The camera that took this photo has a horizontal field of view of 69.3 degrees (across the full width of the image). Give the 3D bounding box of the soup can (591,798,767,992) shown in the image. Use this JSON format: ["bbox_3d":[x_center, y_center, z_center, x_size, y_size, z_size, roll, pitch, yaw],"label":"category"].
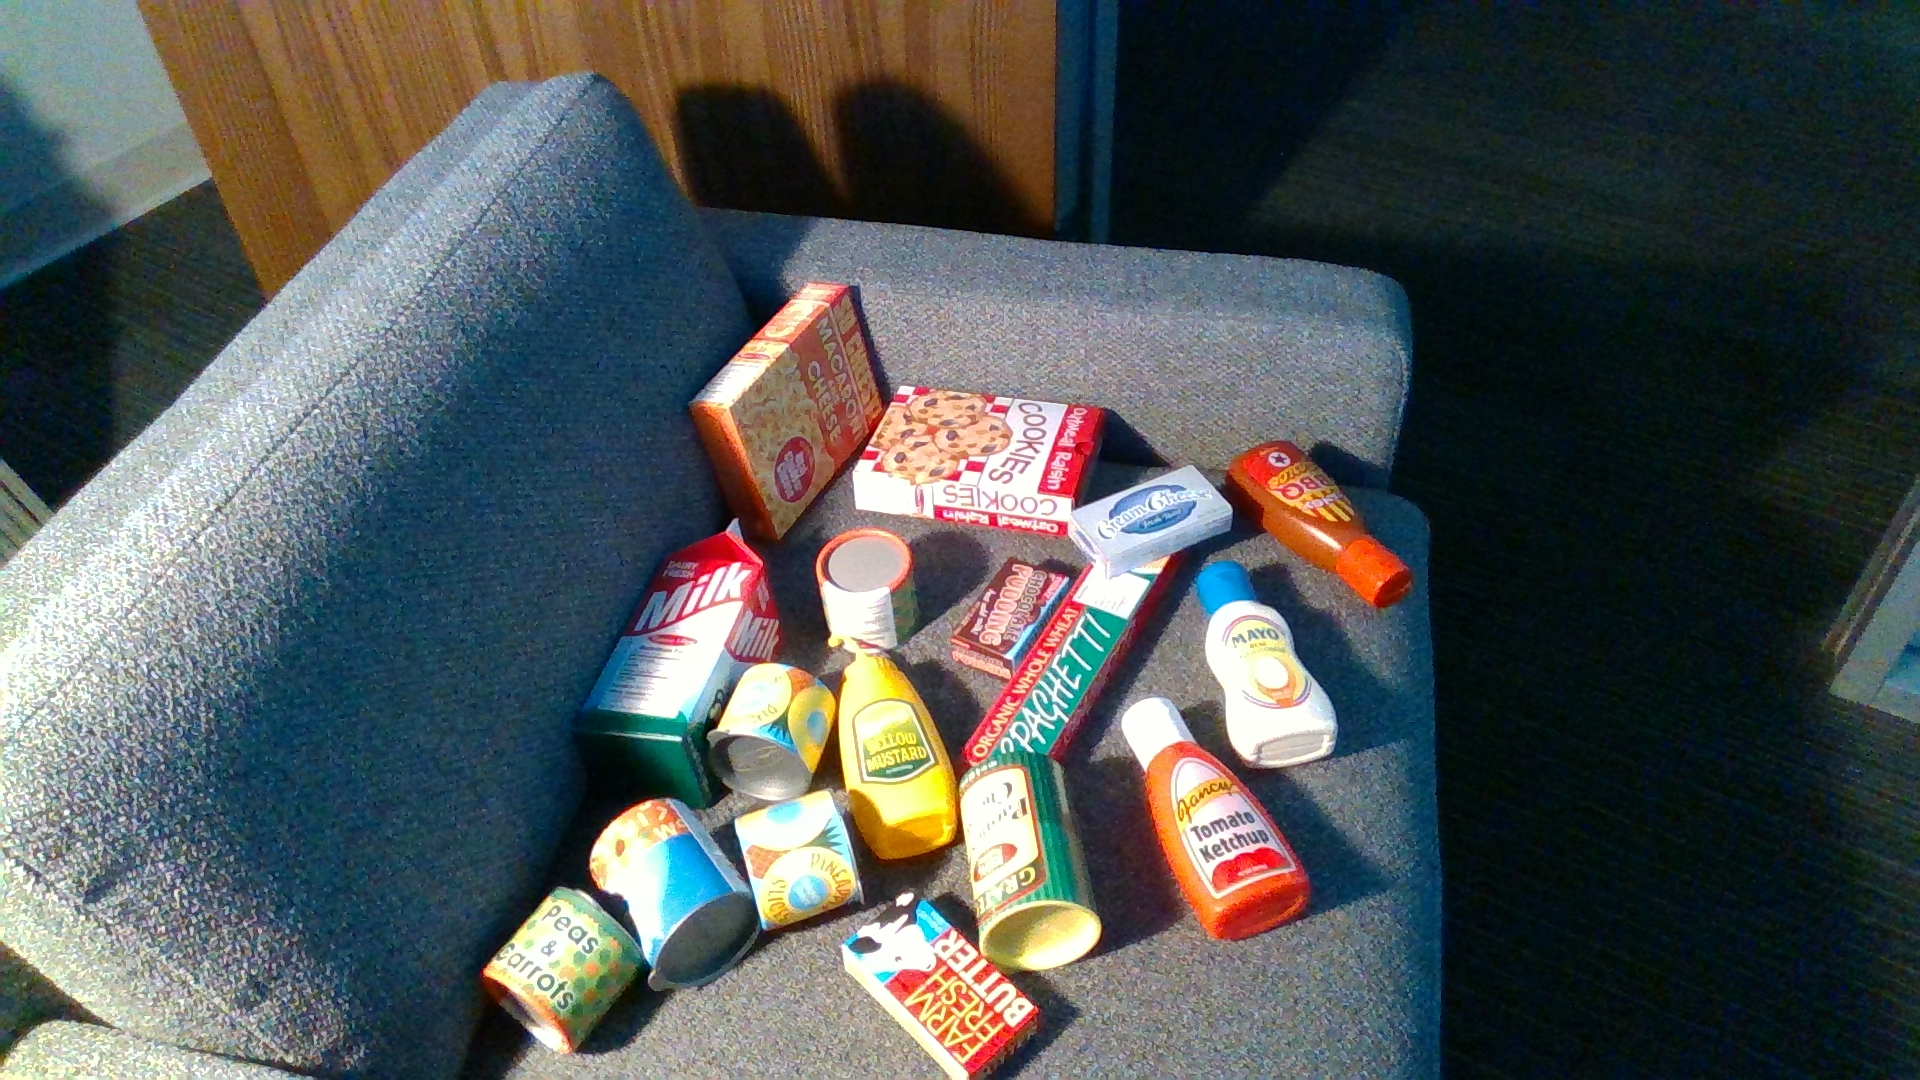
[{"bbox_3d":[-0.159,0.195,0.767,0.071,0.071,0.084,-29,49,-24],"label":"soup can"}]

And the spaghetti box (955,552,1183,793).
[{"bbox_3d":[0.078,0.069,0.904,0.050,0.028,0.251,19,47,23],"label":"spaghetti box"}]

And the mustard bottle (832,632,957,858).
[{"bbox_3d":[-0.049,0.116,0.858,0.065,0.048,0.161,-14,49,-12],"label":"mustard bottle"}]

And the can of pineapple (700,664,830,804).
[{"bbox_3d":[-0.118,0.116,0.848,0.071,0.070,0.058,5,40,10],"label":"can of pineapple"}]

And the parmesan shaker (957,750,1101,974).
[{"bbox_3d":[0.034,0.179,0.778,0.071,0.071,0.103,-8,43,-3],"label":"parmesan shaker"}]

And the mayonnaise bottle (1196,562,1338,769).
[{"bbox_3d":[0.188,0.076,0.887,0.065,0.041,0.149,-10,43,-3],"label":"mayonnaise bottle"}]

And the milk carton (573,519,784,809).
[{"bbox_3d":[-0.170,0.074,0.901,0.073,0.072,0.192,4,44,14],"label":"milk carton"}]

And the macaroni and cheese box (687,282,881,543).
[{"bbox_3d":[-0.124,-0.098,1.041,0.040,0.123,0.167,8,44,28],"label":"macaroni and cheese box"}]

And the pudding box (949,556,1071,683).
[{"bbox_3d":[0.035,0.053,0.926,0.050,0.030,0.084,20,50,25],"label":"pudding box"}]

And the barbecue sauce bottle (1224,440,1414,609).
[{"bbox_3d":[0.254,-0.011,0.977,0.065,0.043,0.149,-19,47,-23],"label":"barbecue sauce bottle"}]

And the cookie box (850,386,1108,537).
[{"bbox_3d":[0.017,-0.062,1.041,0.167,0.040,0.123,8,38,13],"label":"cookie box"}]

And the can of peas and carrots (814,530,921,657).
[{"bbox_3d":[-0.062,0.033,0.937,0.071,0.058,0.071,-3,42,3],"label":"can of peas and carrots"}]

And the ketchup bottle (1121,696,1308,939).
[{"bbox_3d":[0.139,0.156,0.806,0.065,0.043,0.149,-15,44,-12],"label":"ketchup bottle"}]

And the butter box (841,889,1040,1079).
[{"bbox_3d":[-0.011,0.239,0.742,0.053,0.024,0.104,-35,51,-26],"label":"butter box"}]

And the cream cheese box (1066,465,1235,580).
[{"bbox_3d":[0.130,-0.013,0.947,0.104,0.024,0.053,-21,44,-18],"label":"cream cheese box"}]

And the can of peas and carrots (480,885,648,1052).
[{"bbox_3d":[-0.211,0.227,0.738,0.071,0.070,0.059,22,52,26],"label":"can of peas and carrots"}]

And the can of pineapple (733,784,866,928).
[{"bbox_3d":[-0.090,0.178,0.780,0.058,0.070,0.071,-16,44,-12],"label":"can of pineapple"}]
